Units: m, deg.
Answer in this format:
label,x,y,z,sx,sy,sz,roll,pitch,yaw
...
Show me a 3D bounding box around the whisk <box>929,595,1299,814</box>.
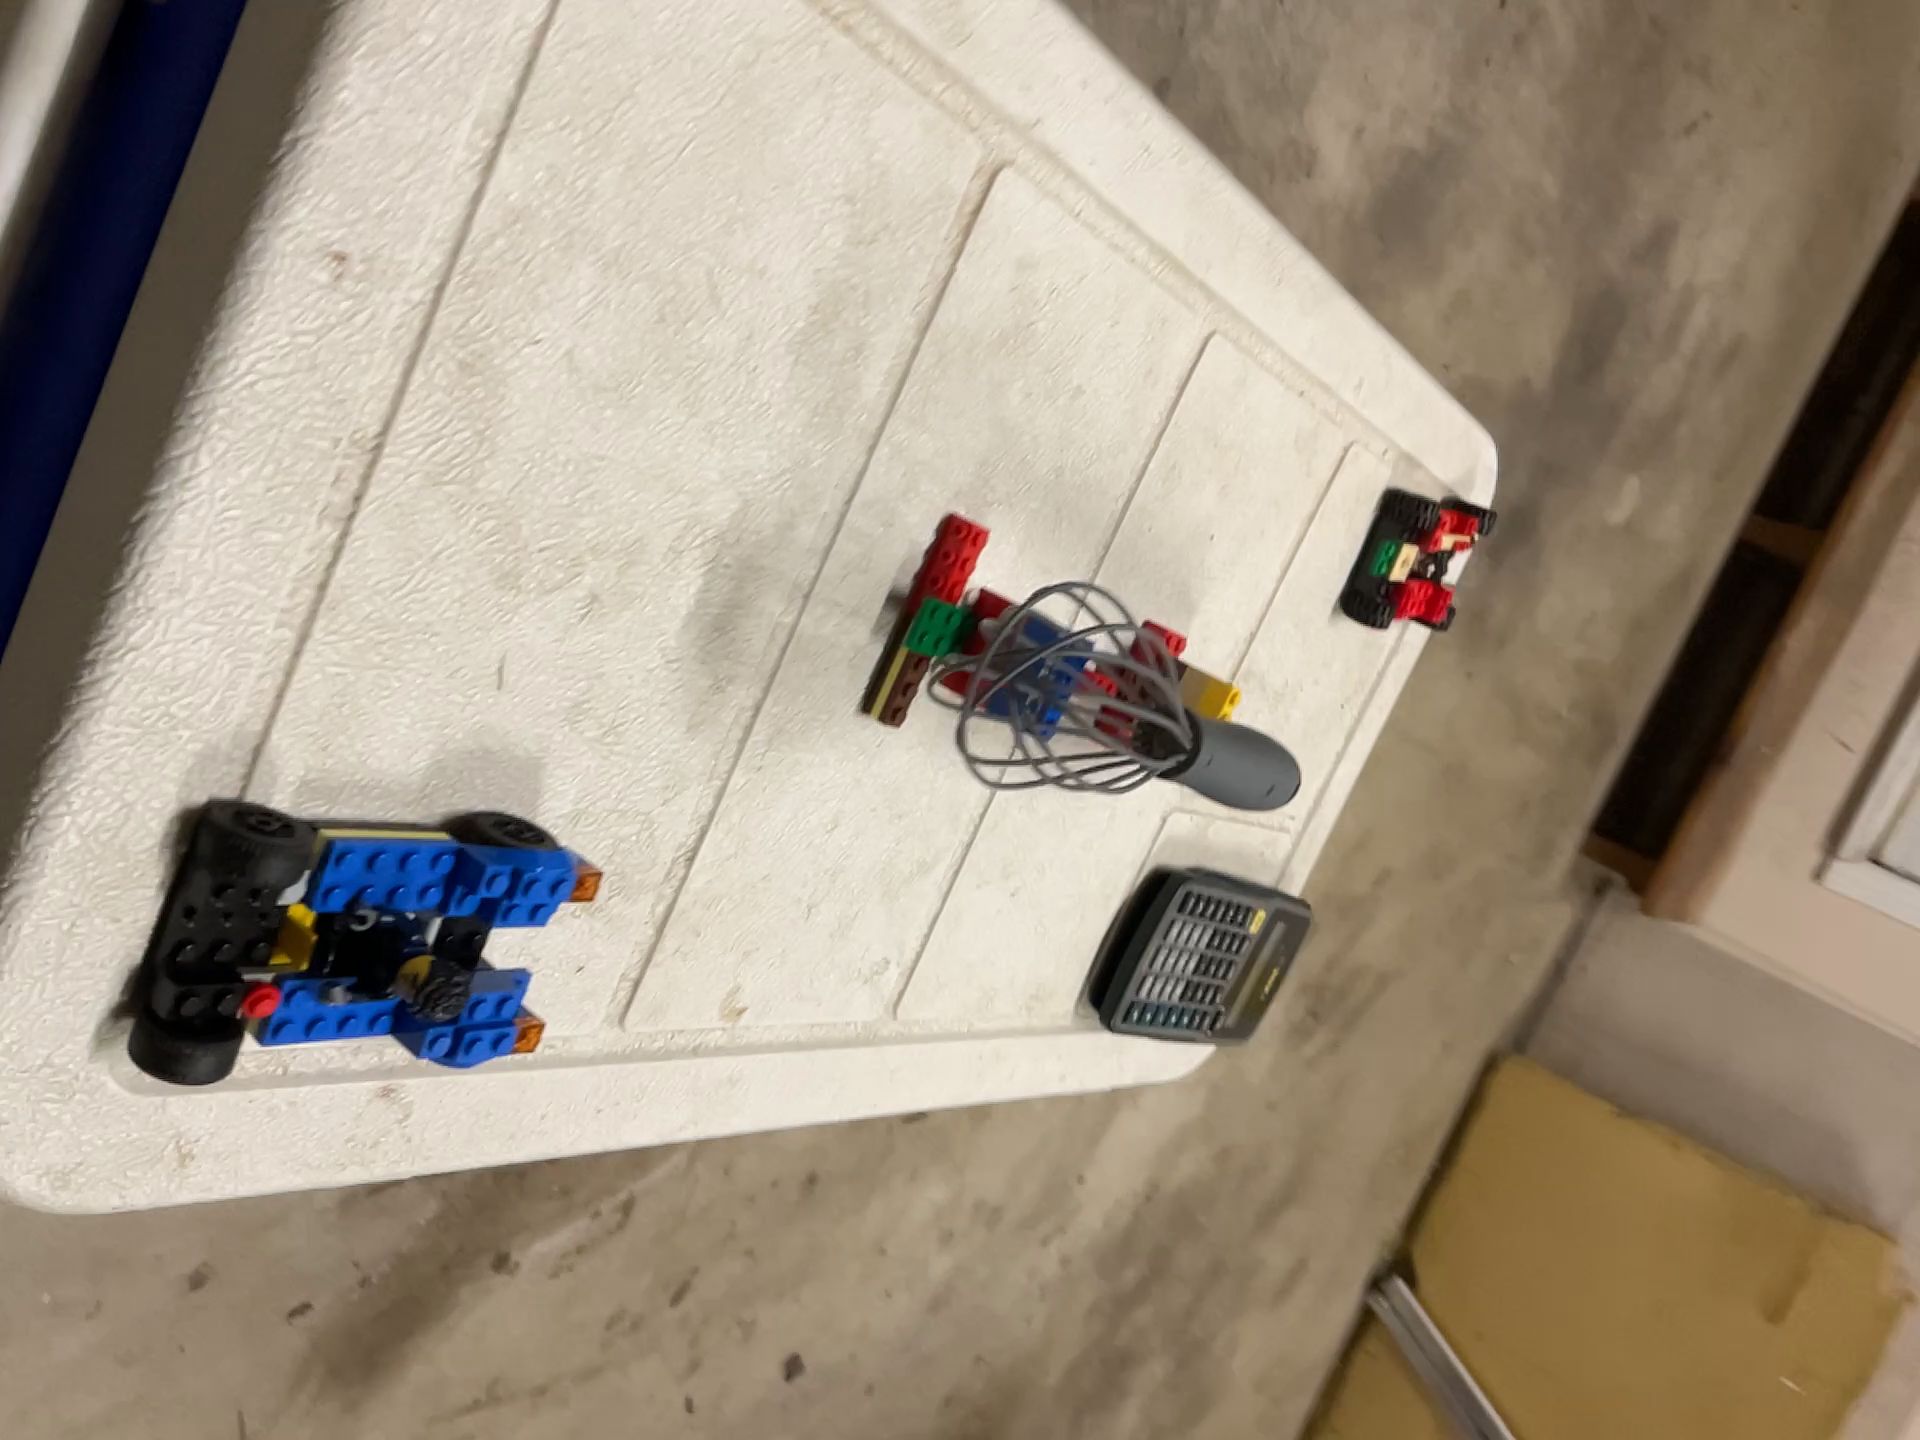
label,x,y,z,sx,sy,sz,roll,pitch,yaw
whisk,0.059,0.007,0.474,0.055,0.055,0.239,-62,152,6
